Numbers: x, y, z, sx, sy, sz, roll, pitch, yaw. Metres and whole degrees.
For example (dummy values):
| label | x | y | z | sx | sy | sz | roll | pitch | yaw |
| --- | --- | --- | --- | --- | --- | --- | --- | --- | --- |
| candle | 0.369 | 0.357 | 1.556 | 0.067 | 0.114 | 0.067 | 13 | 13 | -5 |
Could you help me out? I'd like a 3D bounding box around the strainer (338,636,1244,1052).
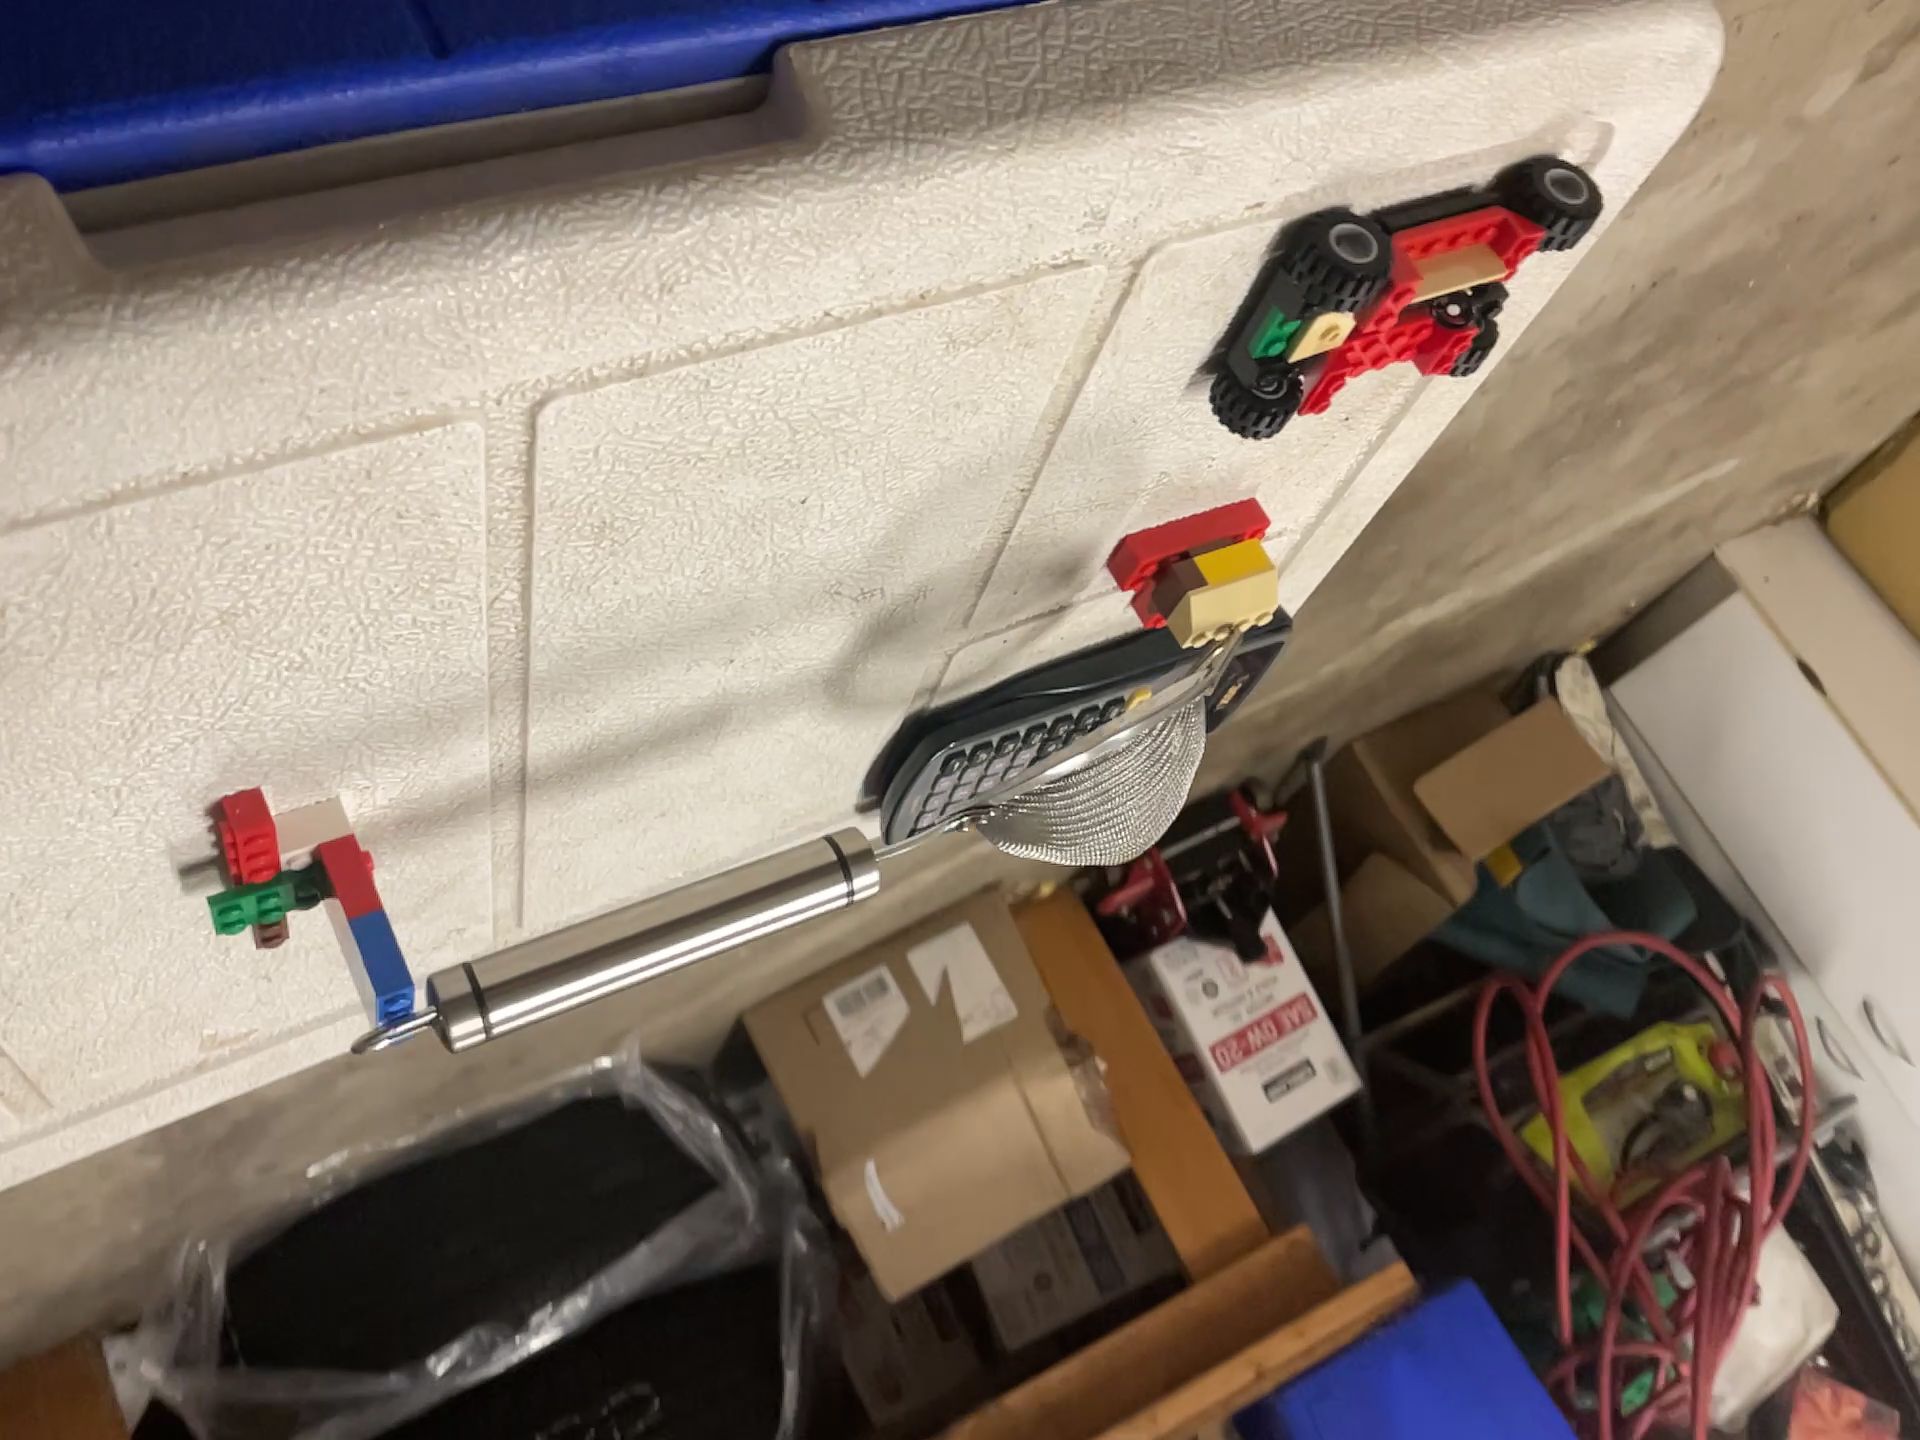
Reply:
| label | x | y | z | sx | sy | sz | roll | pitch | yaw |
| --- | --- | --- | --- | --- | --- | --- | --- | --- | --- |
| strainer | -0.024 | 0.036 | 0.402 | 0.258 | 0.050 | 0.087 | -18 | 175 | -25 |
